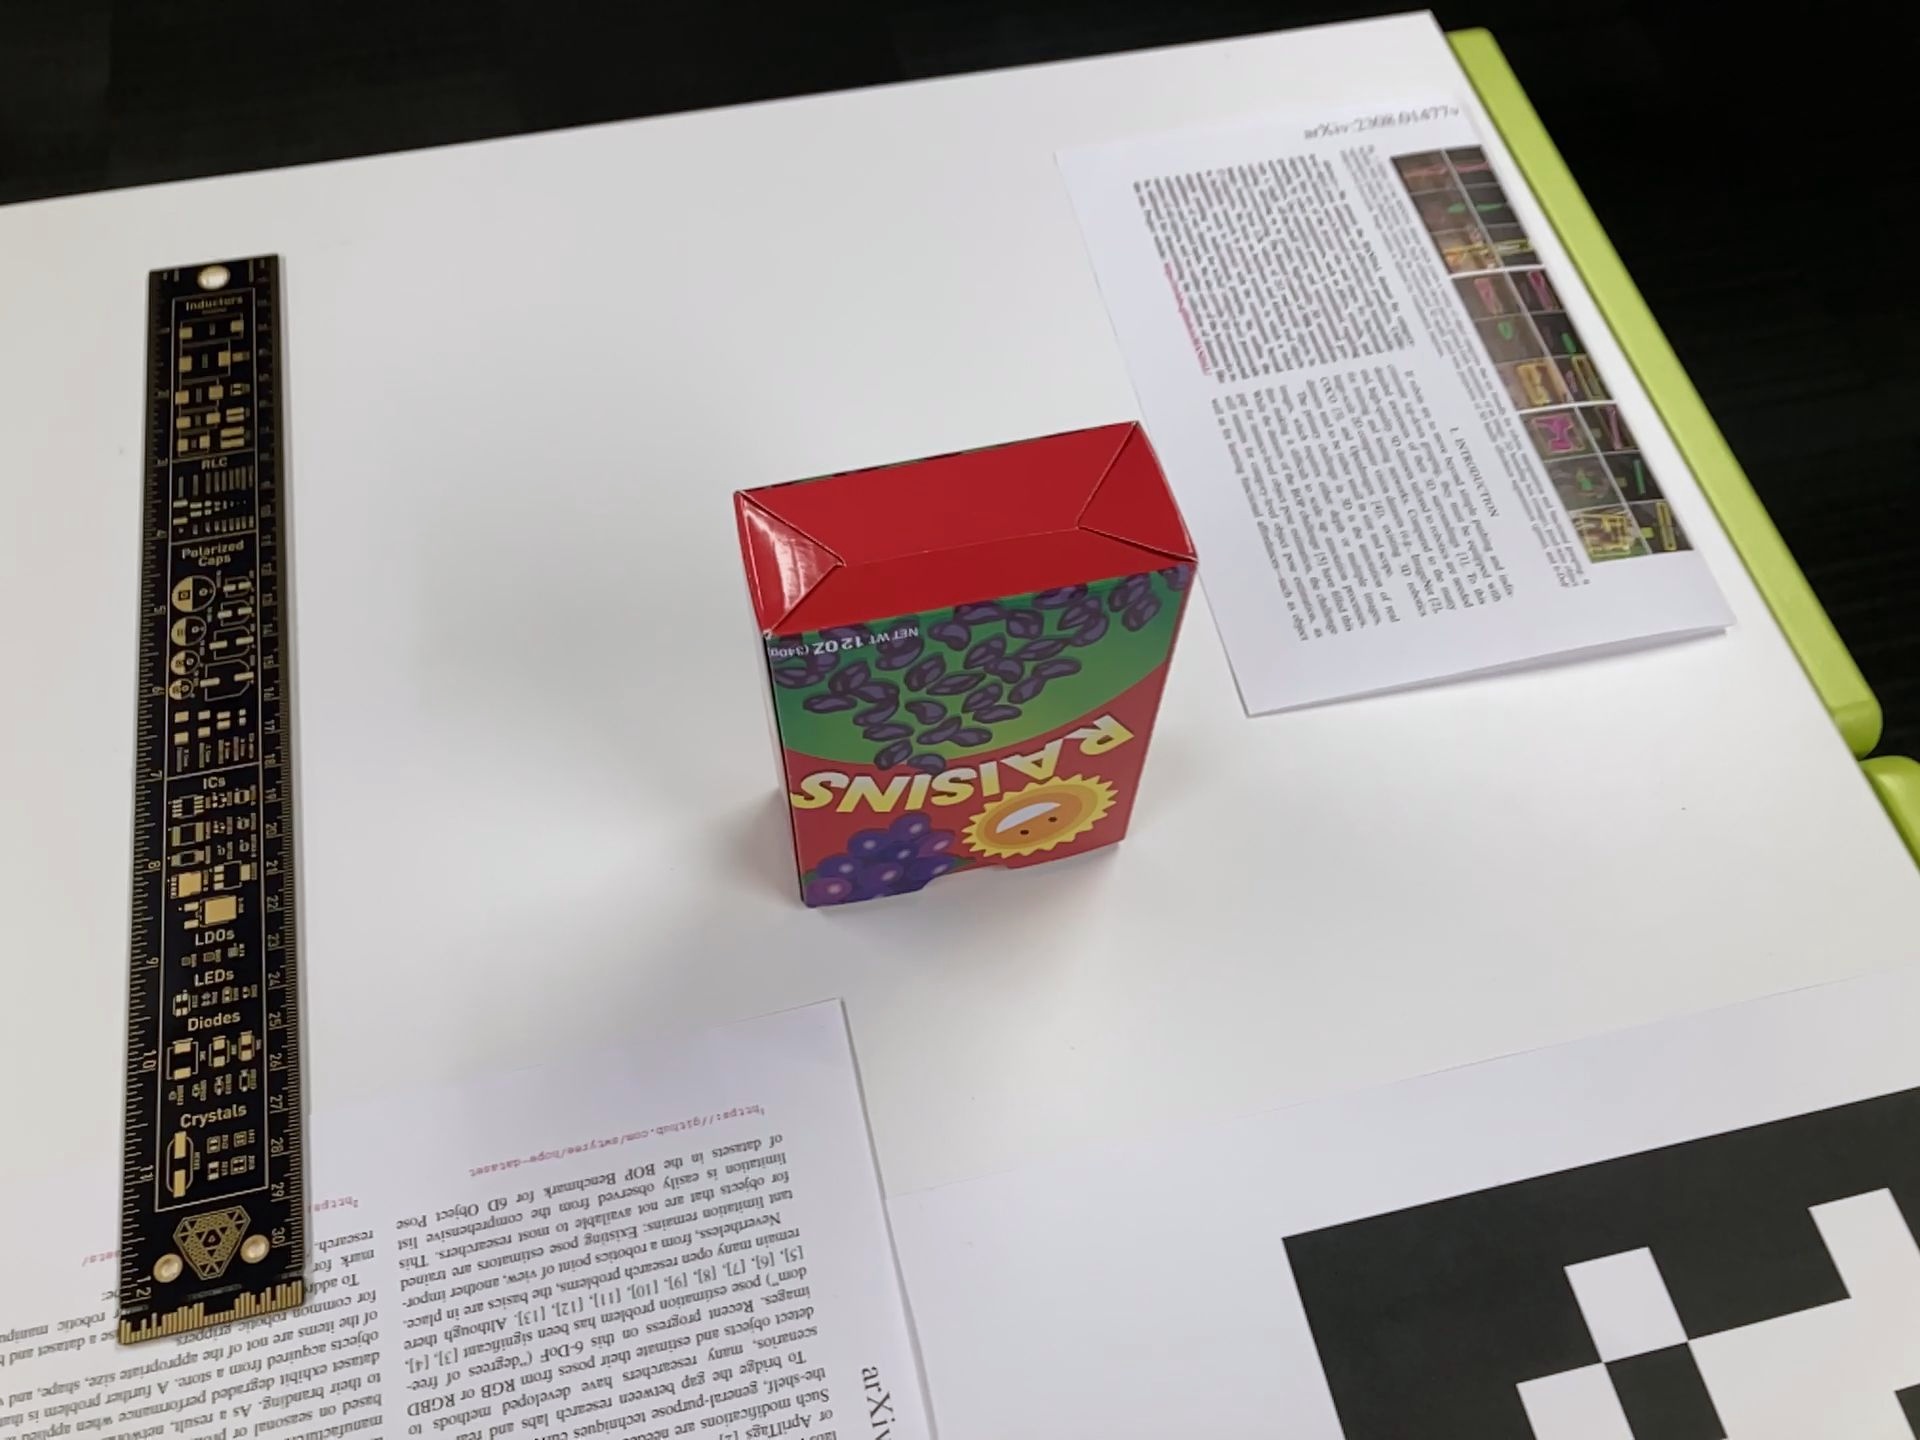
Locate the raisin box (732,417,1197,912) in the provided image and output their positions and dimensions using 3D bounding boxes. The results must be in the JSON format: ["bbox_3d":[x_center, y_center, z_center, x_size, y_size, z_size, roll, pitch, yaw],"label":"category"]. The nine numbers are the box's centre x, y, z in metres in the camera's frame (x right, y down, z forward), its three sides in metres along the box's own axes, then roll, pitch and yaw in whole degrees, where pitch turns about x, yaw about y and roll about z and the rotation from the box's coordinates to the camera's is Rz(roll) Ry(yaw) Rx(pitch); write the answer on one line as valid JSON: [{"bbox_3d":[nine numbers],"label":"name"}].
[{"bbox_3d":[0.000,-0.006,0.354,0.086,0.123,0.040,-12,60,-8],"label":"raisin box"}]
